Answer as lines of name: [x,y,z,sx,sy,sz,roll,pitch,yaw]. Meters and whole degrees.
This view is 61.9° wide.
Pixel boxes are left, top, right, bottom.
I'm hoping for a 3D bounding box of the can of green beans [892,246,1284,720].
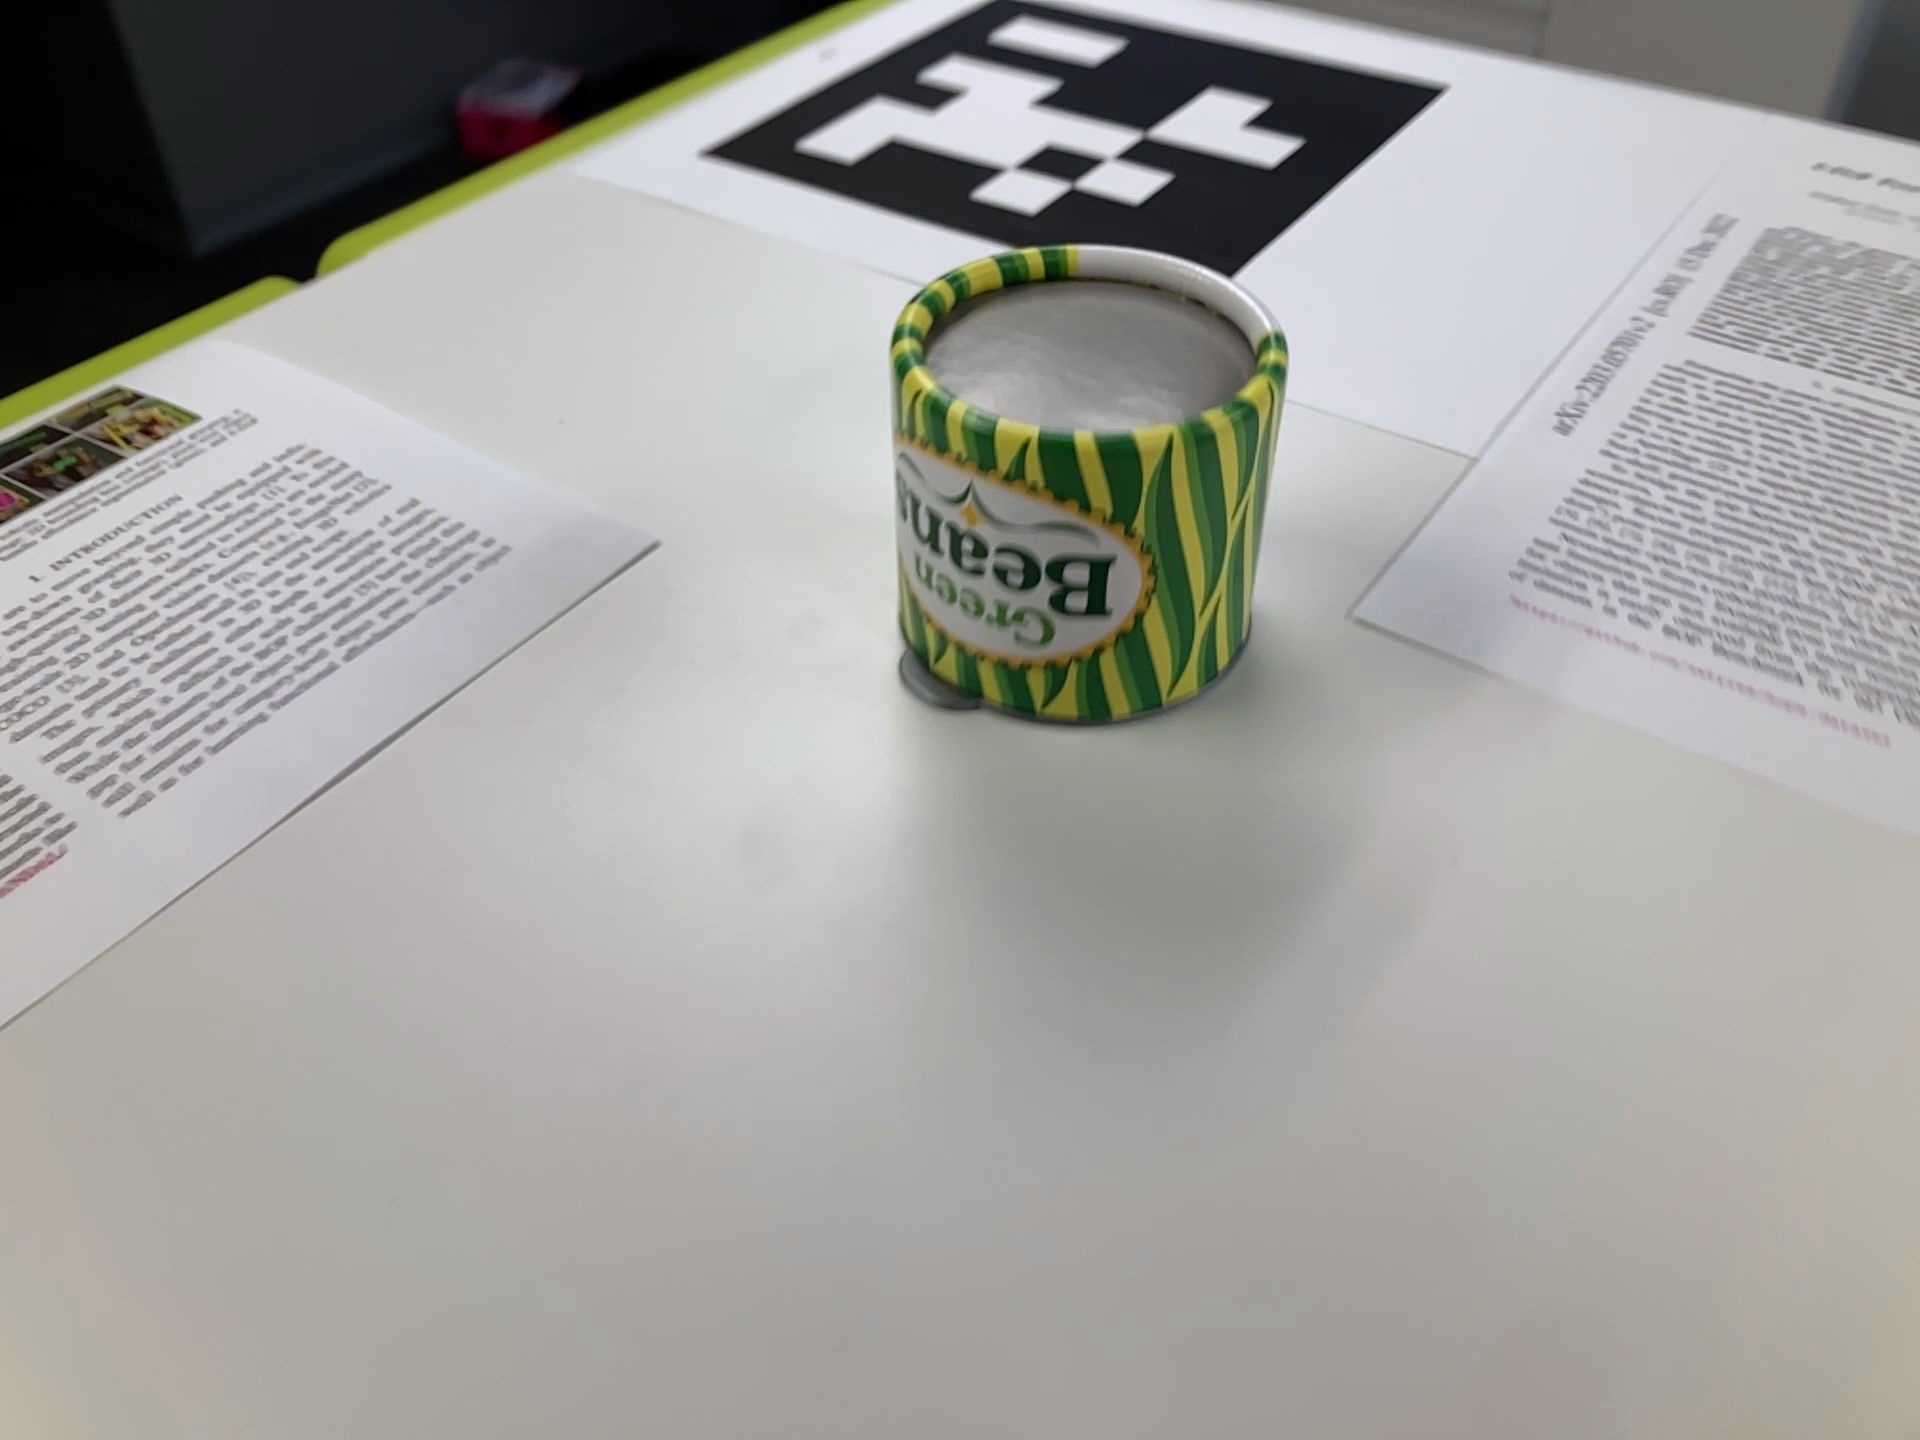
can of green beans: [0.021,-0.043,0.284,0.071,0.058,0.071,0,43,0]
